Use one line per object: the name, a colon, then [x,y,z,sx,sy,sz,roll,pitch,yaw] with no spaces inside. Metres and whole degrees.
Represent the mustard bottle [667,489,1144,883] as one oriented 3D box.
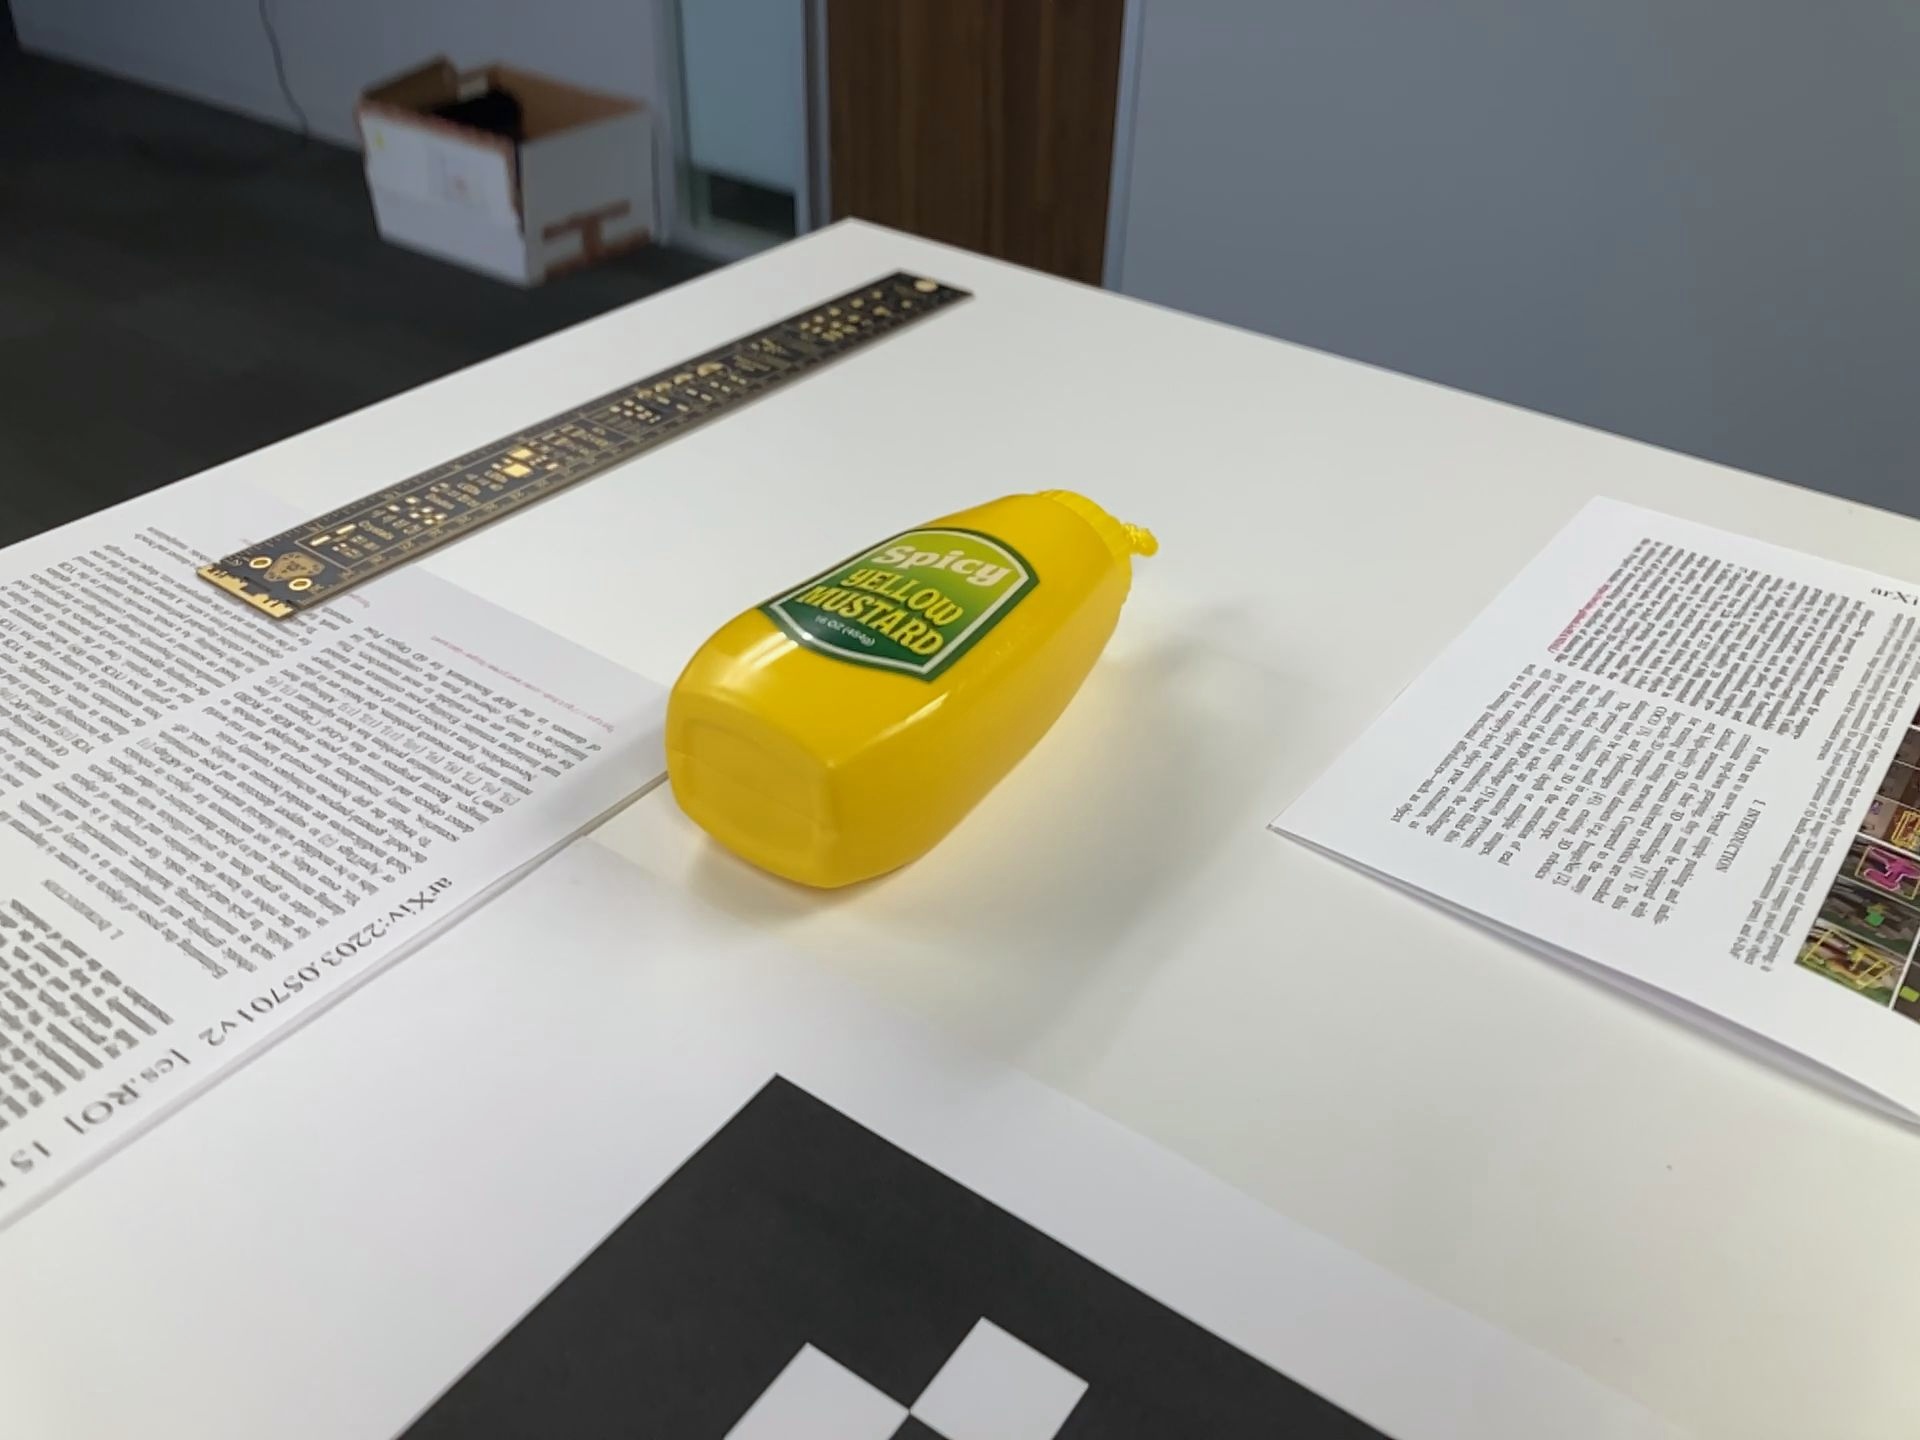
mustard bottle: [0.001,-0.022,0.386,0.065,0.049,0.160,24,40,26]
